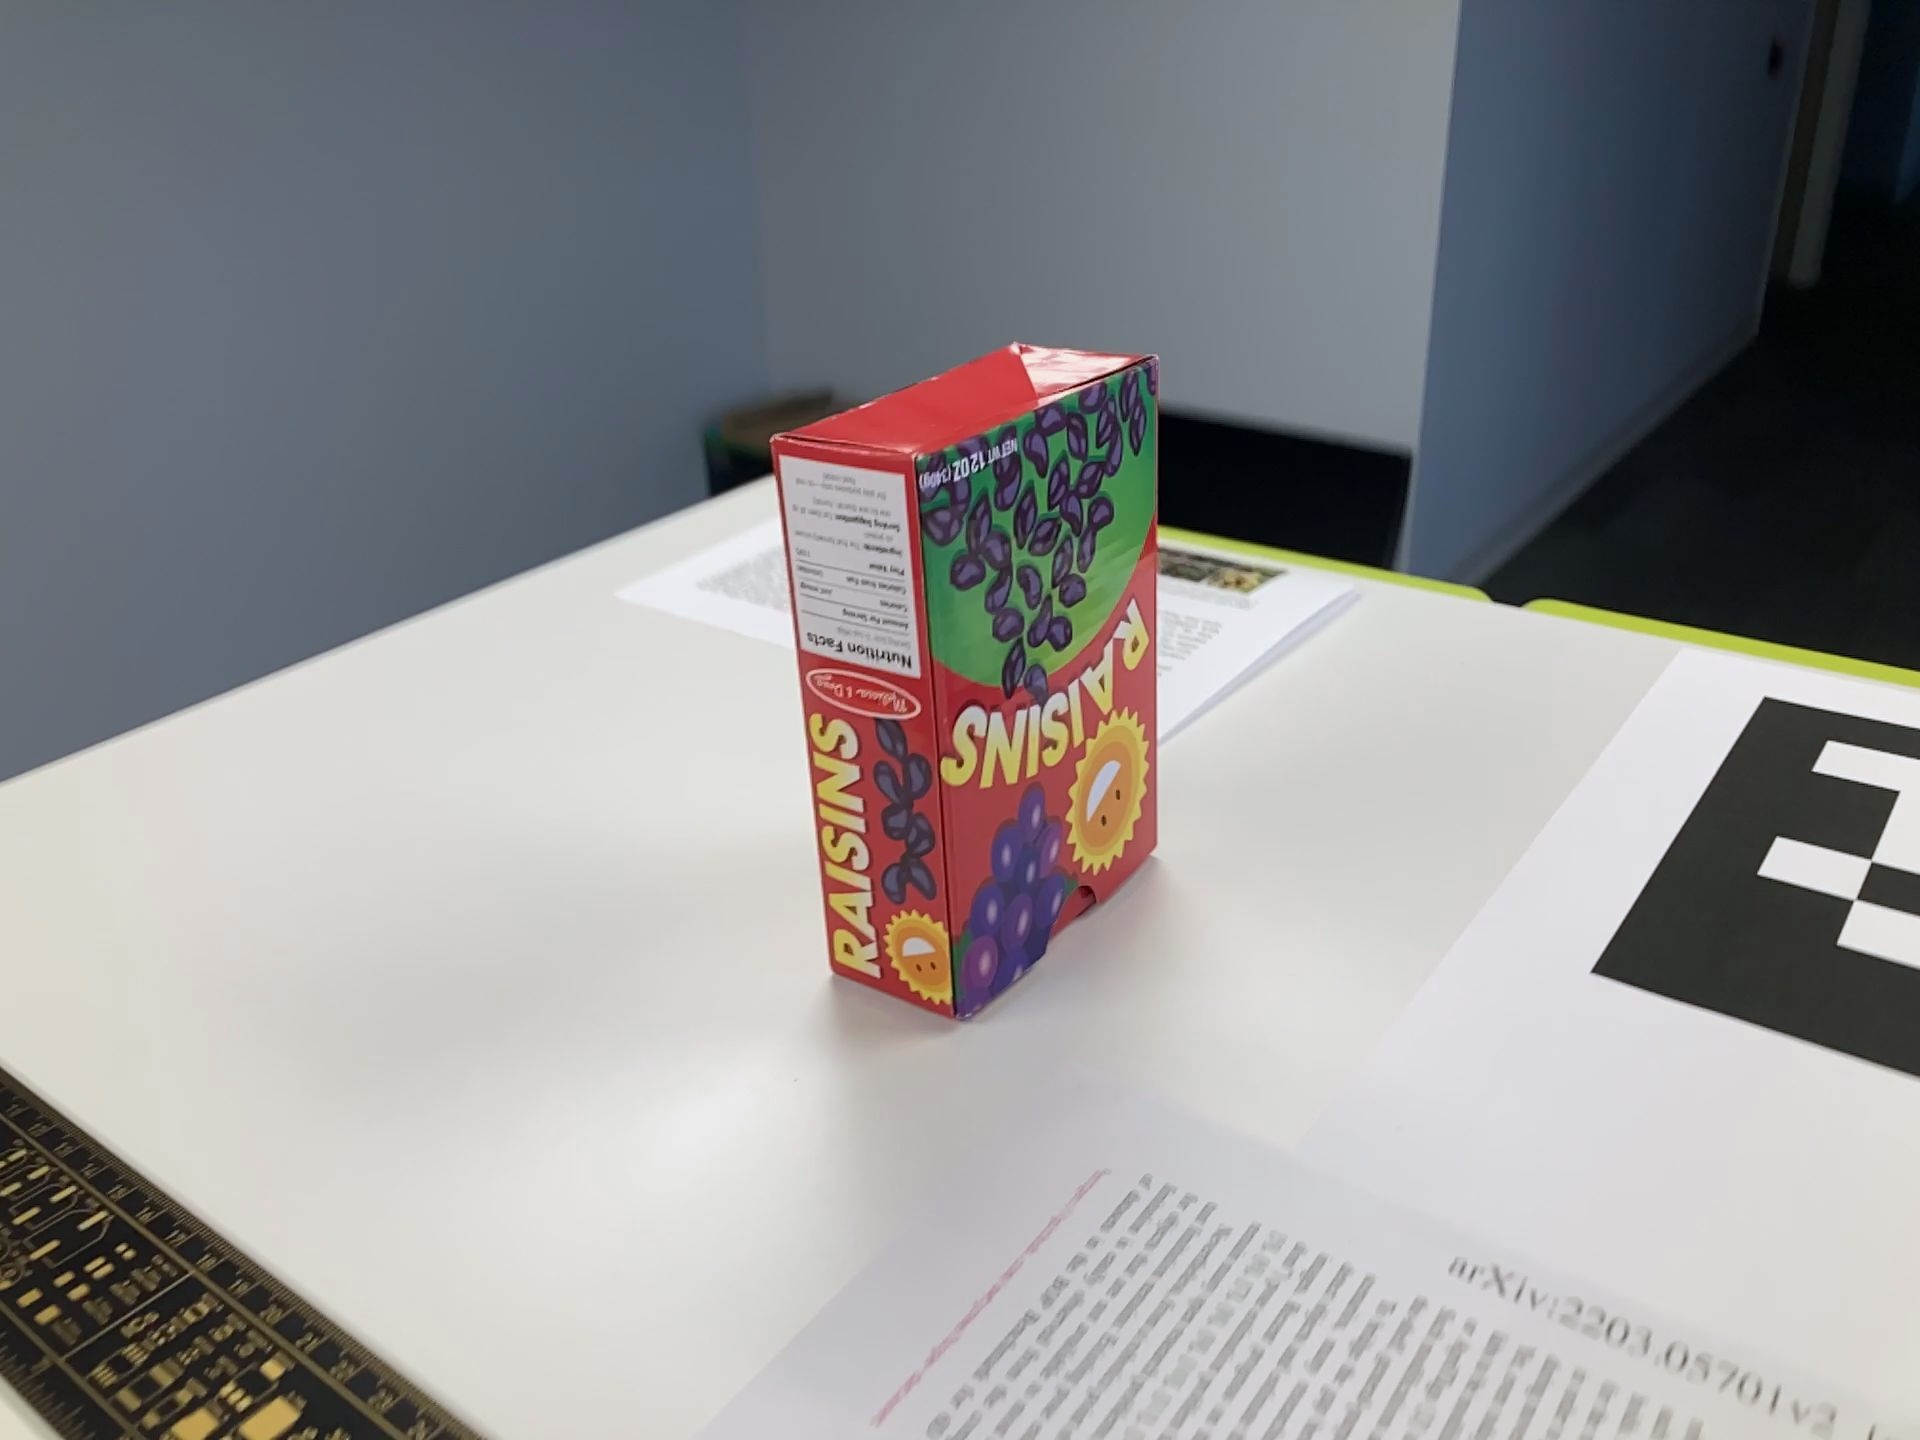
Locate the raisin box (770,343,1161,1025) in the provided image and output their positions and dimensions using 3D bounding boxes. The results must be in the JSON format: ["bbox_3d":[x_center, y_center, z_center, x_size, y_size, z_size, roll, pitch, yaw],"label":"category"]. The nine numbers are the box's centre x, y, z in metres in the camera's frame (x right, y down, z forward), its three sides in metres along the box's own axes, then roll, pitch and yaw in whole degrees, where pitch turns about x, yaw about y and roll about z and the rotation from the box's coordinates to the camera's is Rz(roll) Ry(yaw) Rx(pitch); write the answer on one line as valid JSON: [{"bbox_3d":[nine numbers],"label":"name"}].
[{"bbox_3d":[0.007,-0.010,0.342,0.040,0.123,0.086,14,30,33],"label":"raisin box"}]
